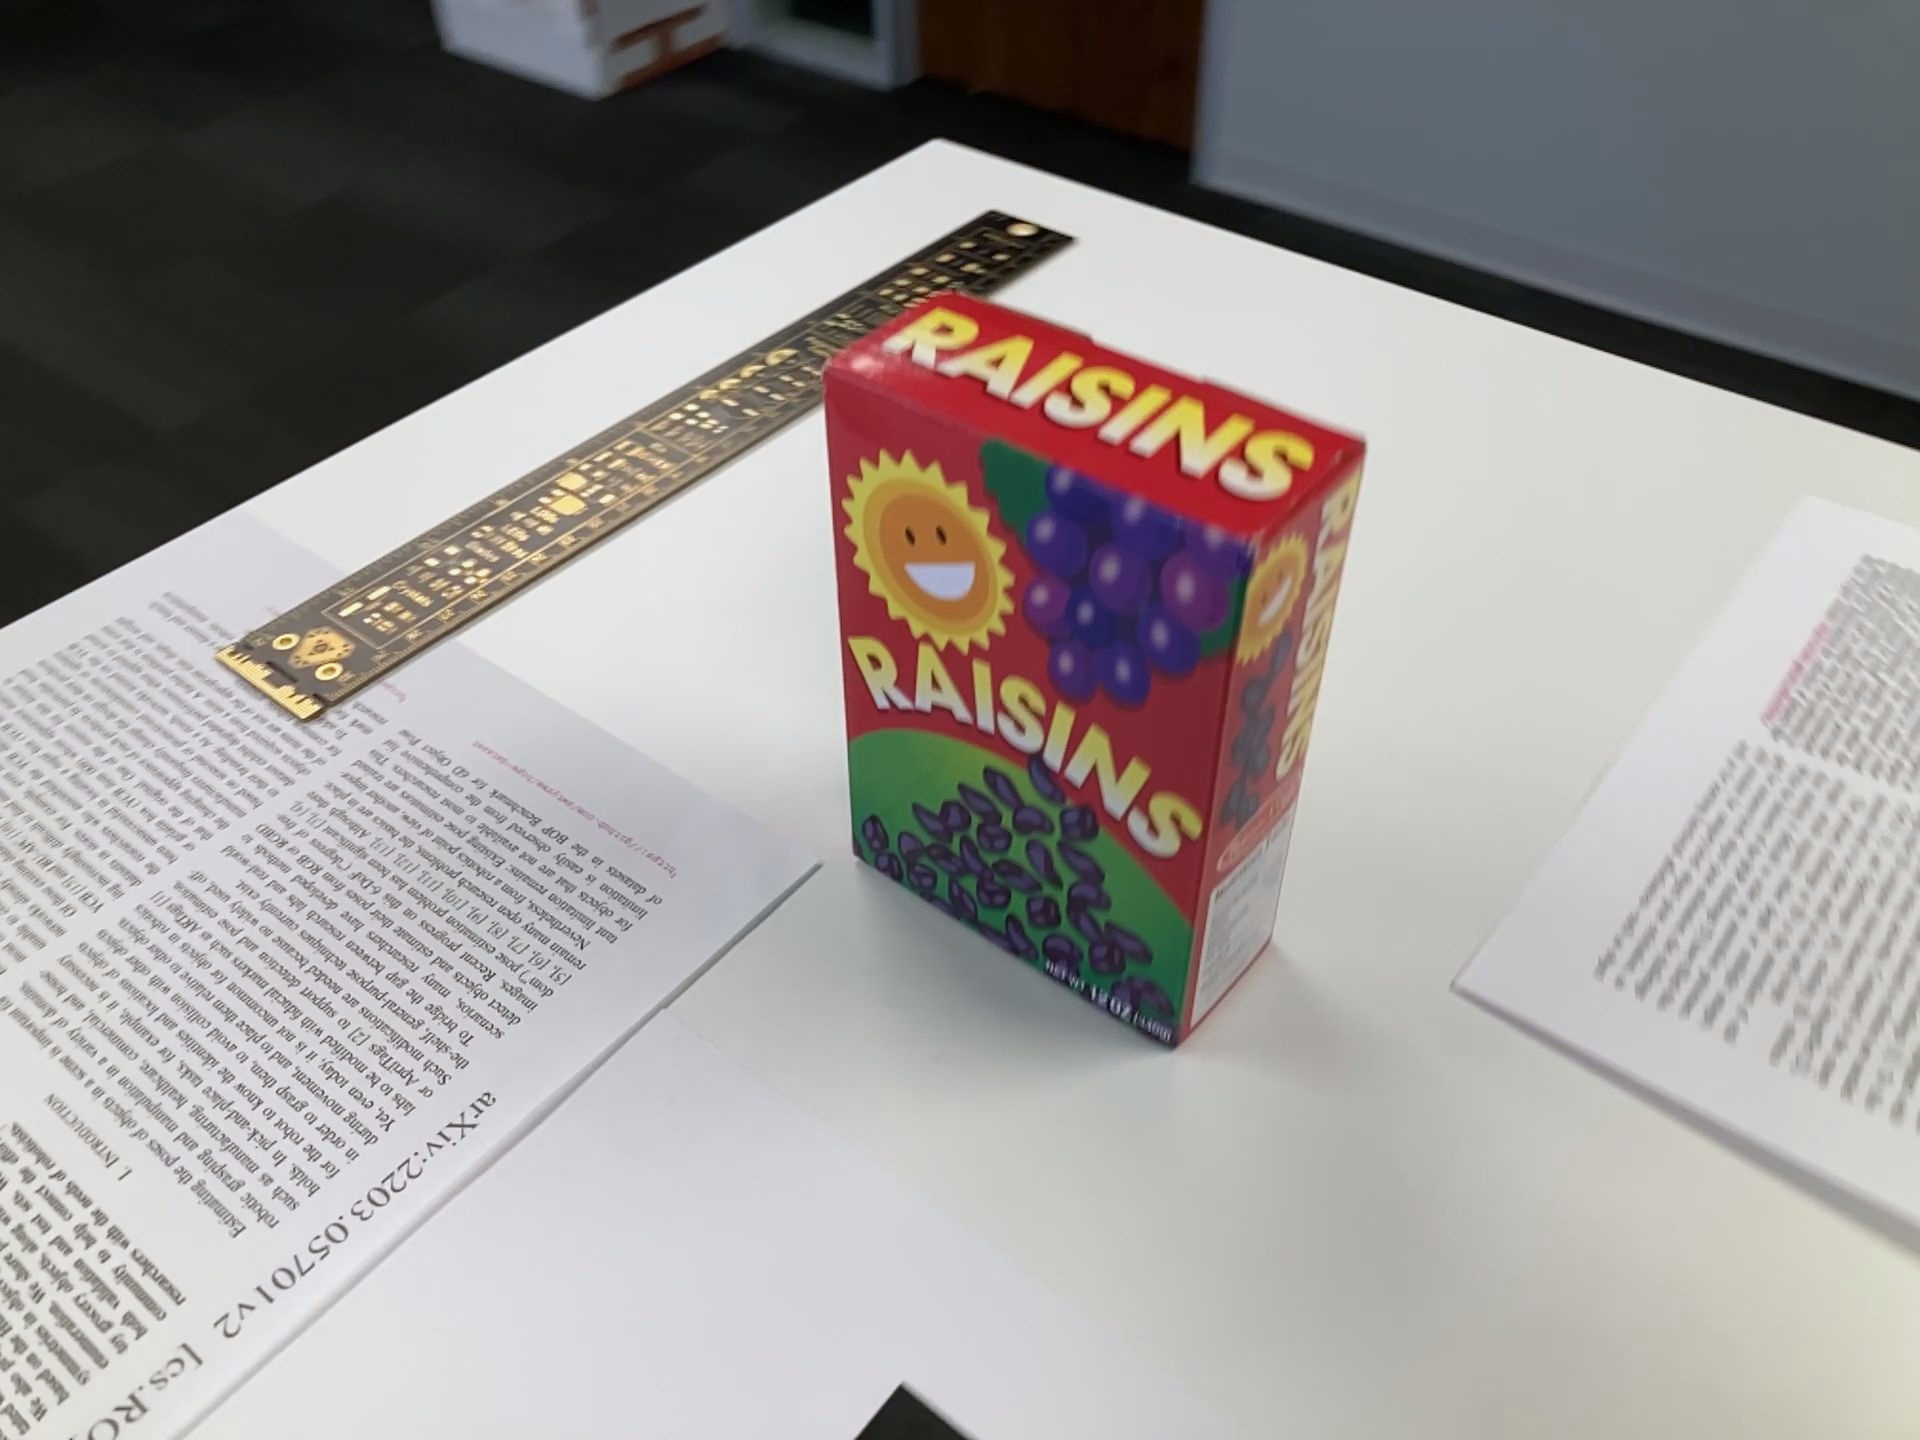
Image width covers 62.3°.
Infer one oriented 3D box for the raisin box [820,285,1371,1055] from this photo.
[{"bbox_3d":[0.020,-0.007,0.295,0.086,0.123,0.040,28,50,28],"label":"raisin box"}]
